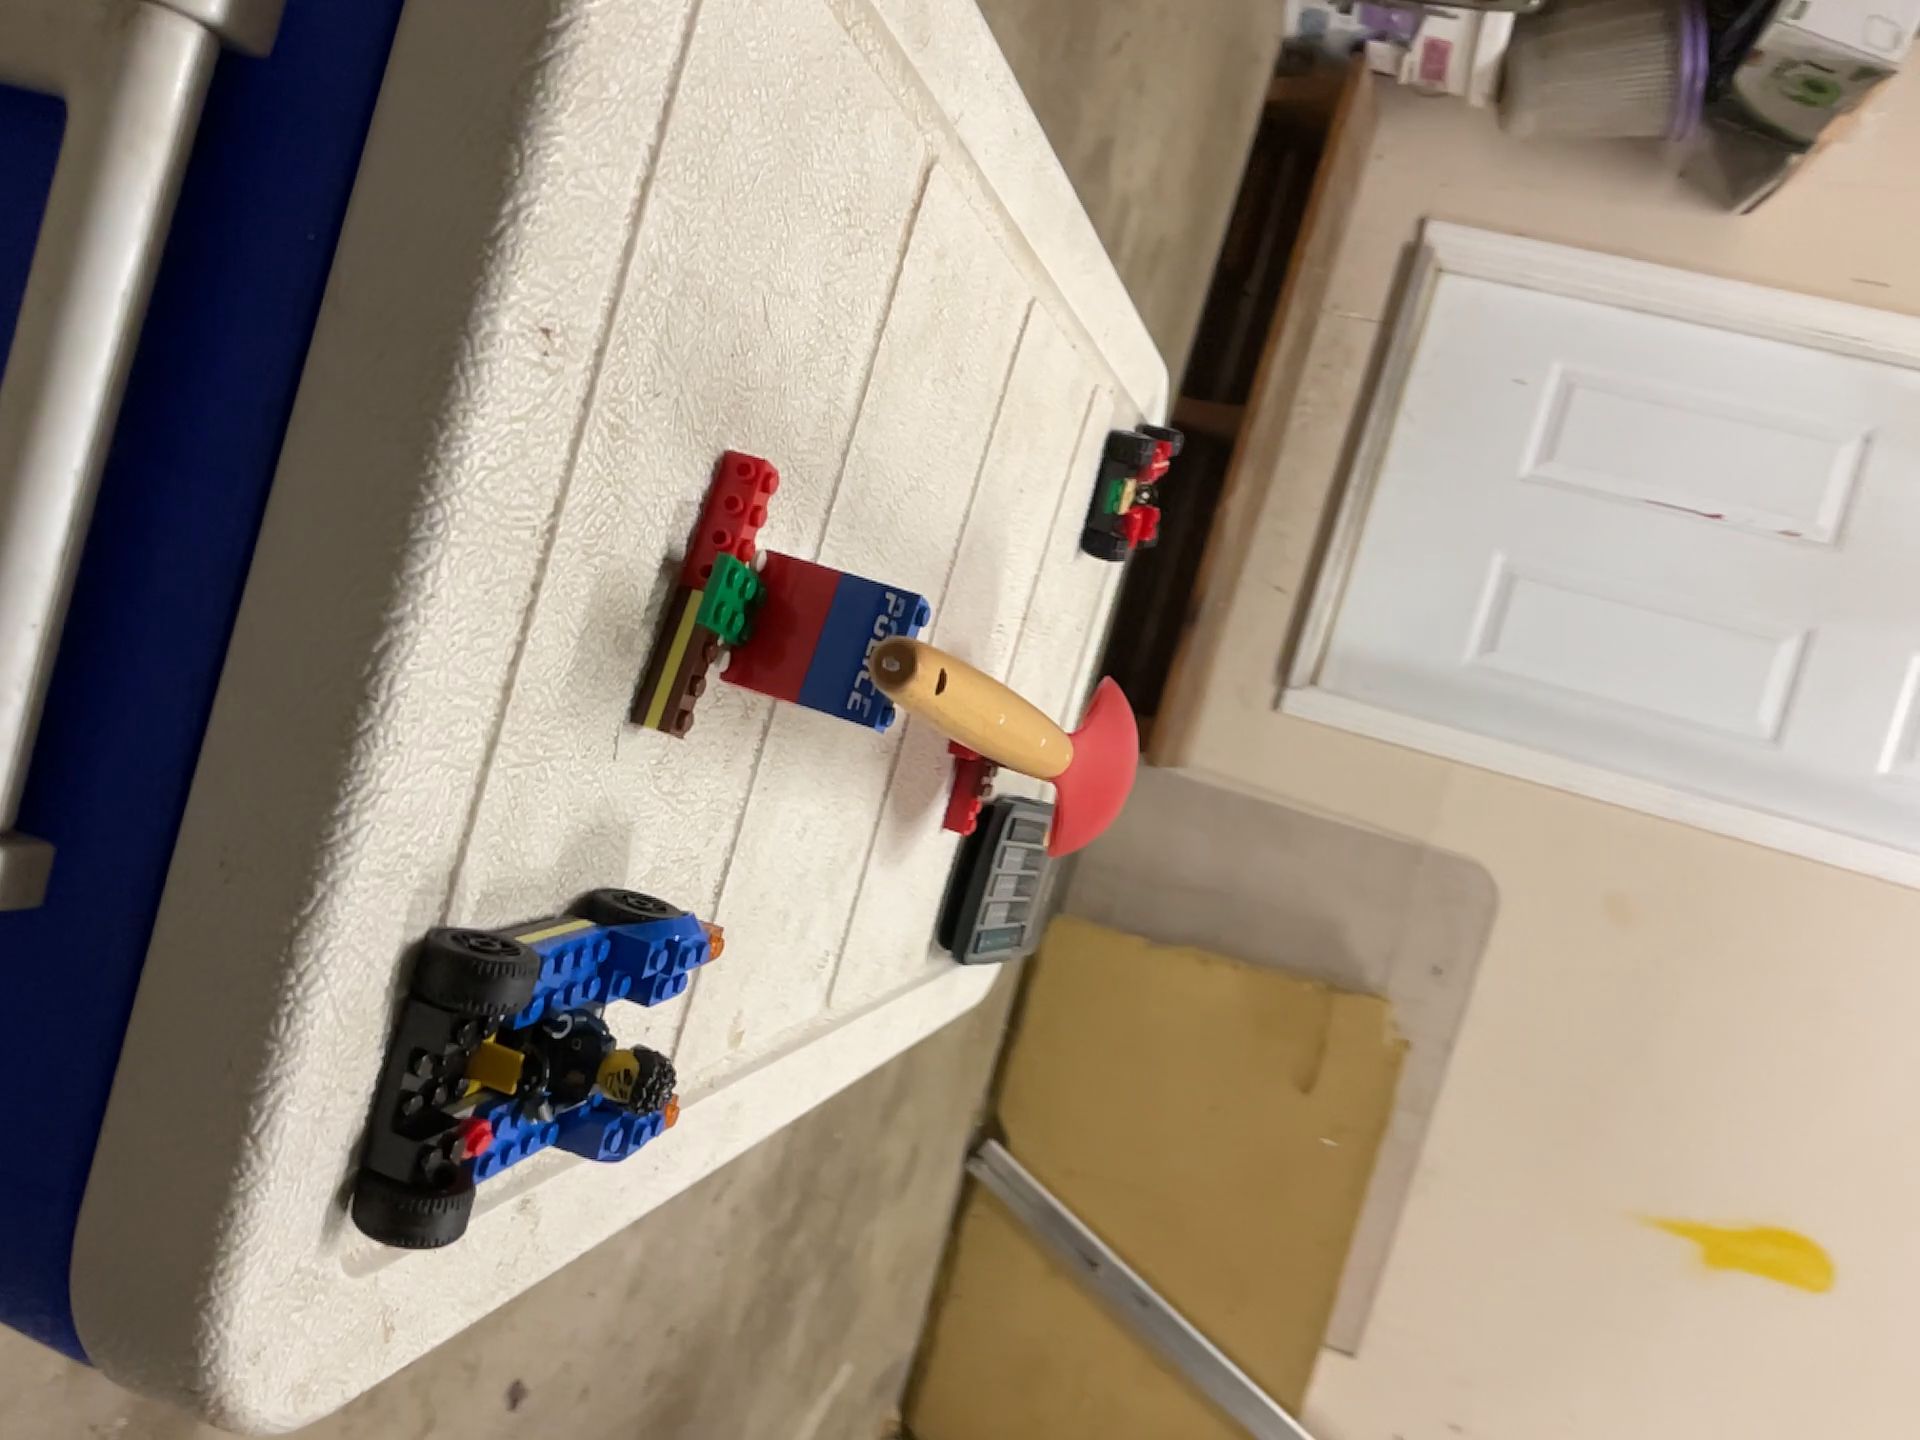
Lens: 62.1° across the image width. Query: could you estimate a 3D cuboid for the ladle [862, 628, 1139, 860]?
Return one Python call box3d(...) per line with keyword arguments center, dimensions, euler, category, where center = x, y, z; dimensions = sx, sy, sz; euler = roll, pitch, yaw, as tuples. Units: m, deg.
box3d(center=(0.021, 0.005, 0.466), dimensions=(0.315, 0.031, 0.069), euler=(28, 80, -75), category="ladle")
